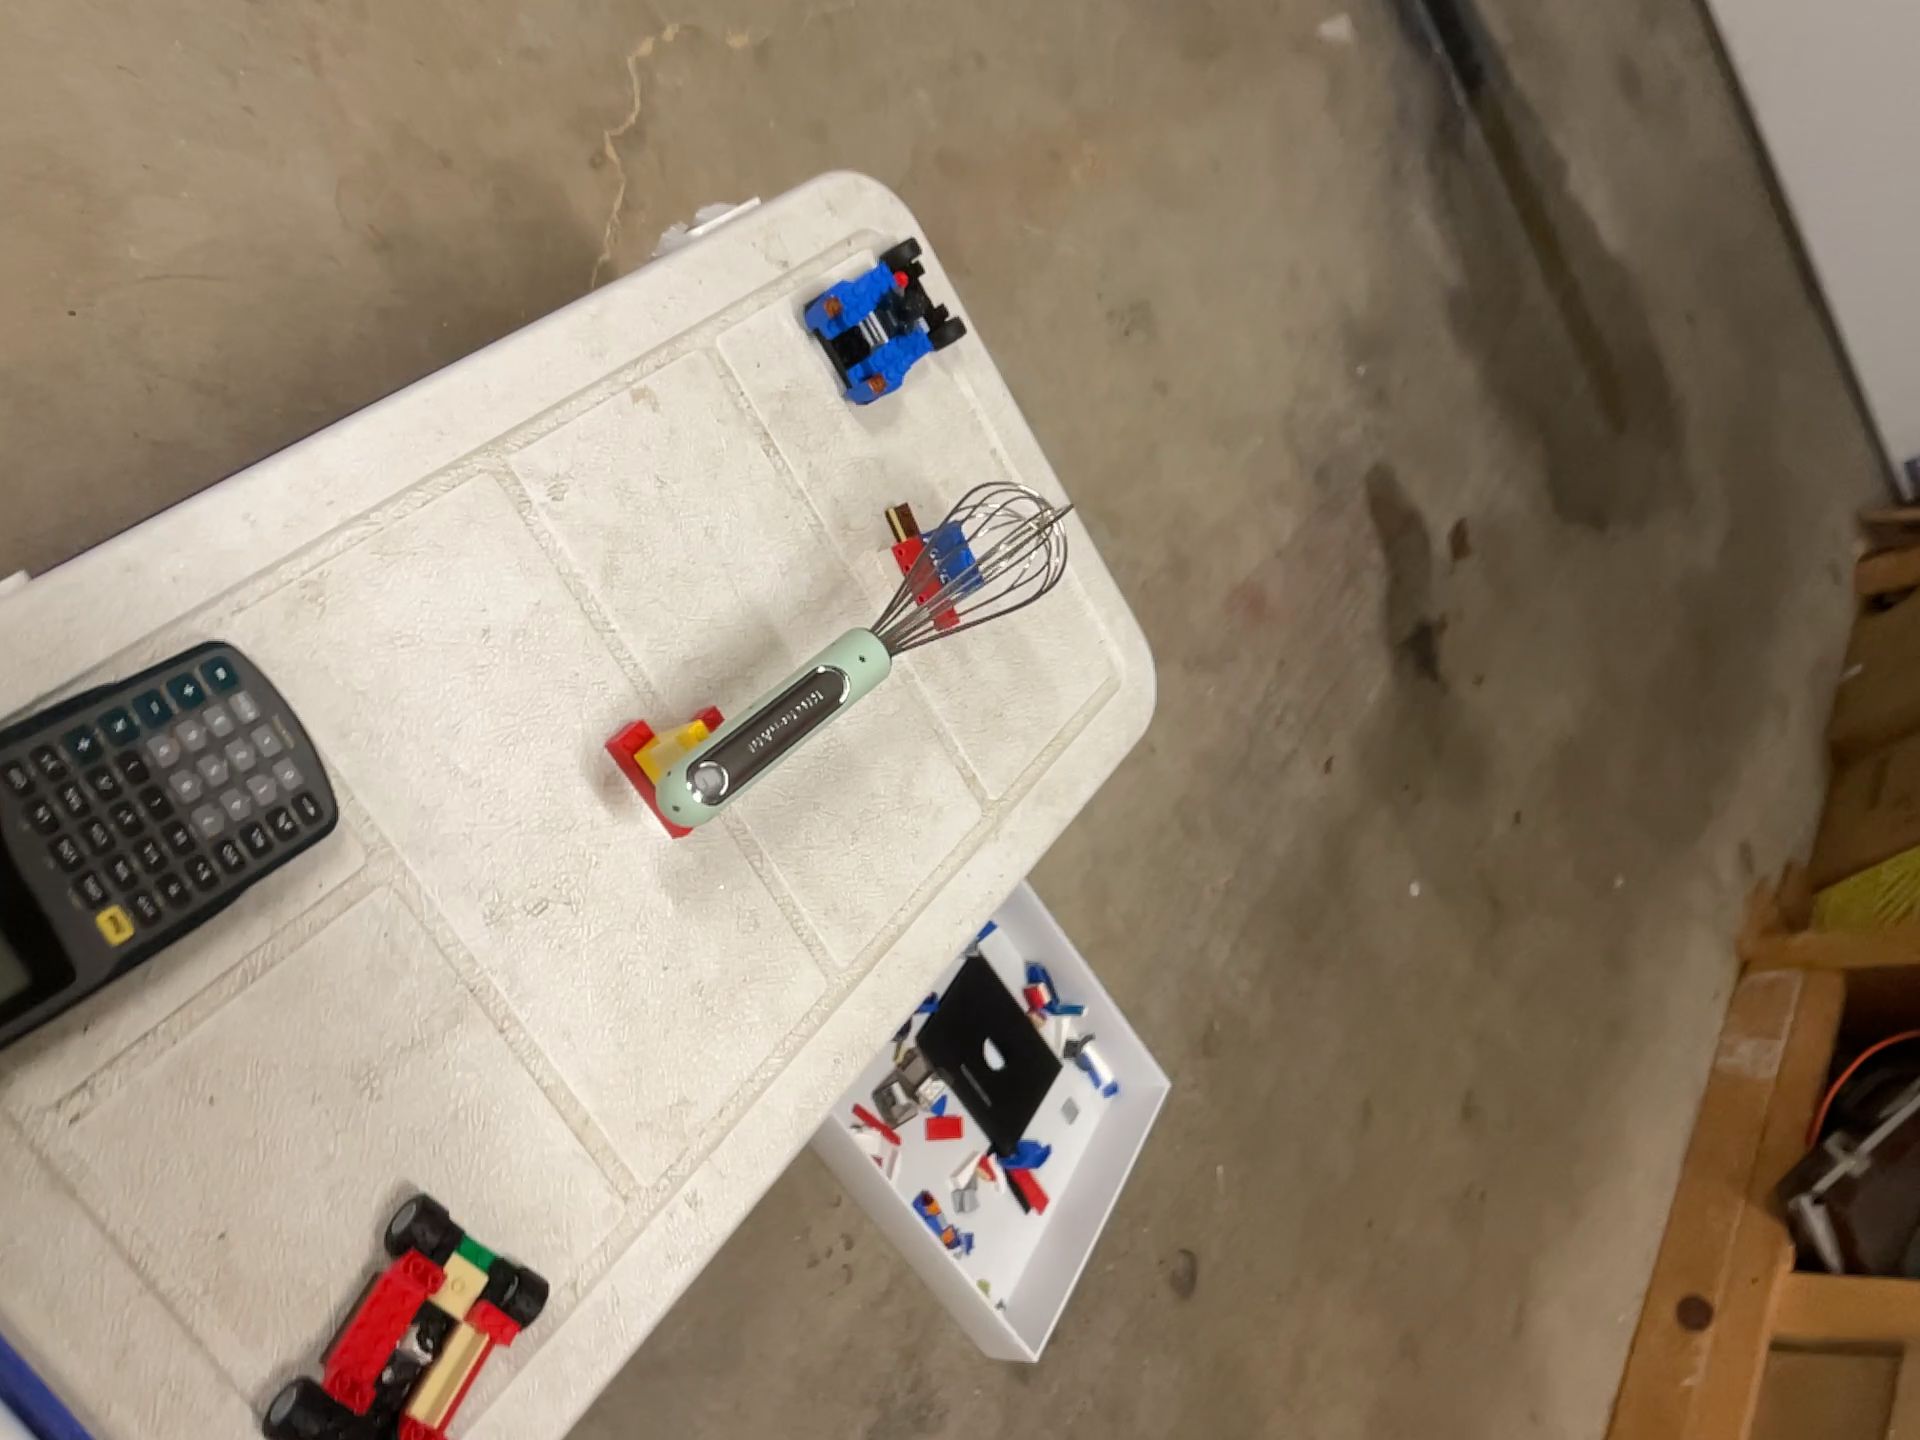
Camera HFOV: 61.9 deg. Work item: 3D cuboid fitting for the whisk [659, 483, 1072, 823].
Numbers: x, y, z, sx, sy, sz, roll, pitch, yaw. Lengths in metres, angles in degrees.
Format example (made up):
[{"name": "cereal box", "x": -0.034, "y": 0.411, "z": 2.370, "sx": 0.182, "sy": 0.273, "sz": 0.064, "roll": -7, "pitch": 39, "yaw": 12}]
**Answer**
[{"name": "whisk", "x": -0.032, "y": -0.032, "z": 0.666, "sx": 0.246, "sy": 0.059, "sz": 0.058, "roll": -41, "pitch": 101, "yaw": -36}]
